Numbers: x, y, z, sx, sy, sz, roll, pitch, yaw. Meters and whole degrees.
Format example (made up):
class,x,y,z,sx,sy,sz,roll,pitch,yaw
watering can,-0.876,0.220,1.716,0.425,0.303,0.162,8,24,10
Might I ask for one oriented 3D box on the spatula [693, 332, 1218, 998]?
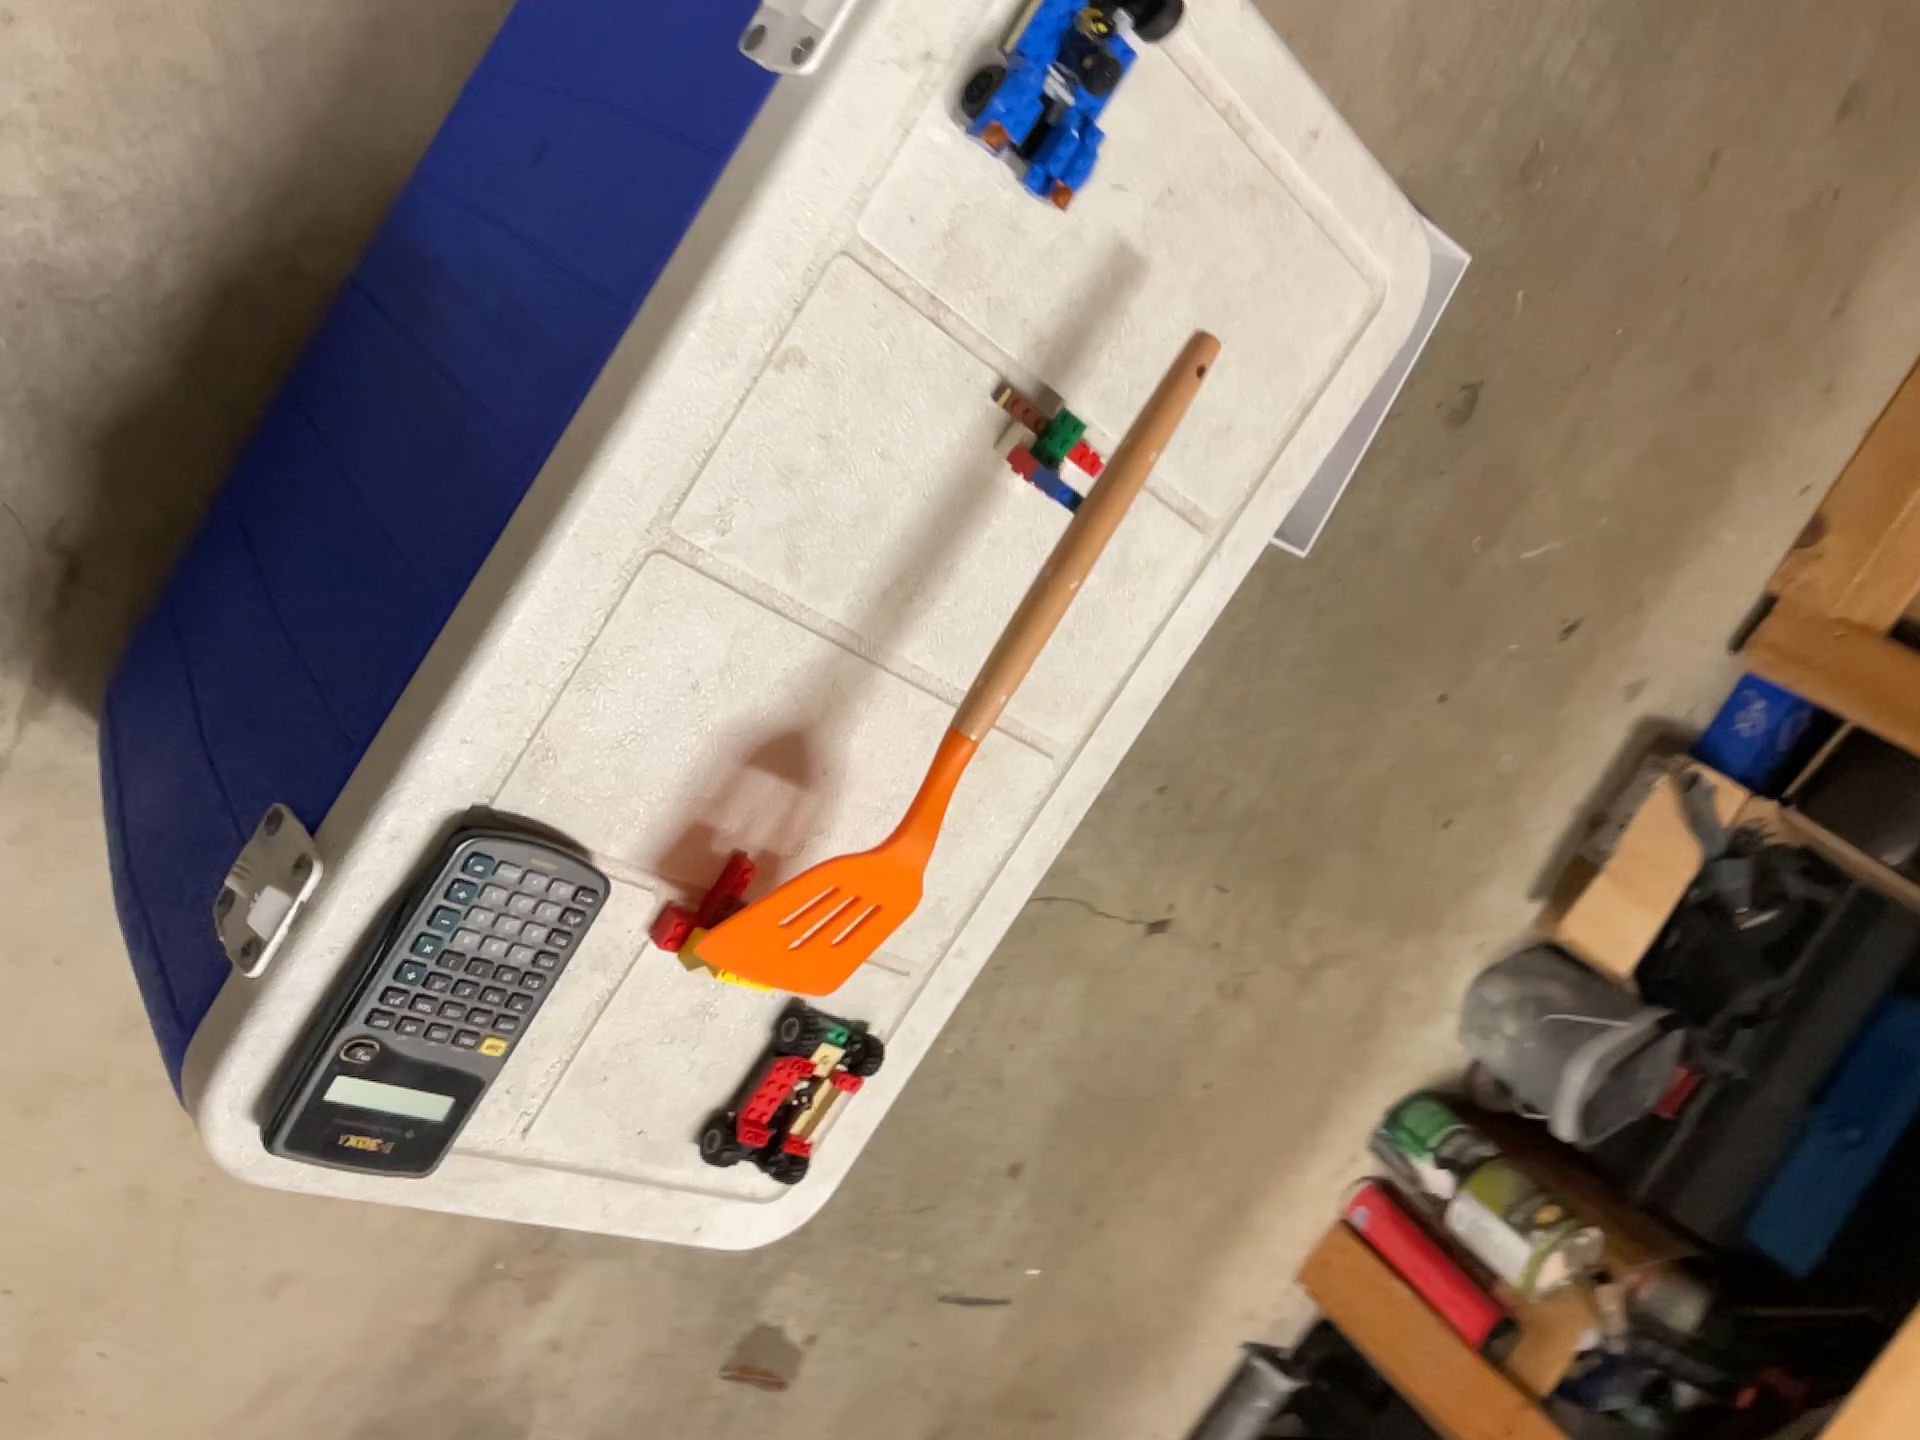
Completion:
class,x,y,z,sx,sy,sz,roll,pitch,yaw
spatula,0.008,-0.019,0.651,0.081,0.041,0.322,29,94,-43
